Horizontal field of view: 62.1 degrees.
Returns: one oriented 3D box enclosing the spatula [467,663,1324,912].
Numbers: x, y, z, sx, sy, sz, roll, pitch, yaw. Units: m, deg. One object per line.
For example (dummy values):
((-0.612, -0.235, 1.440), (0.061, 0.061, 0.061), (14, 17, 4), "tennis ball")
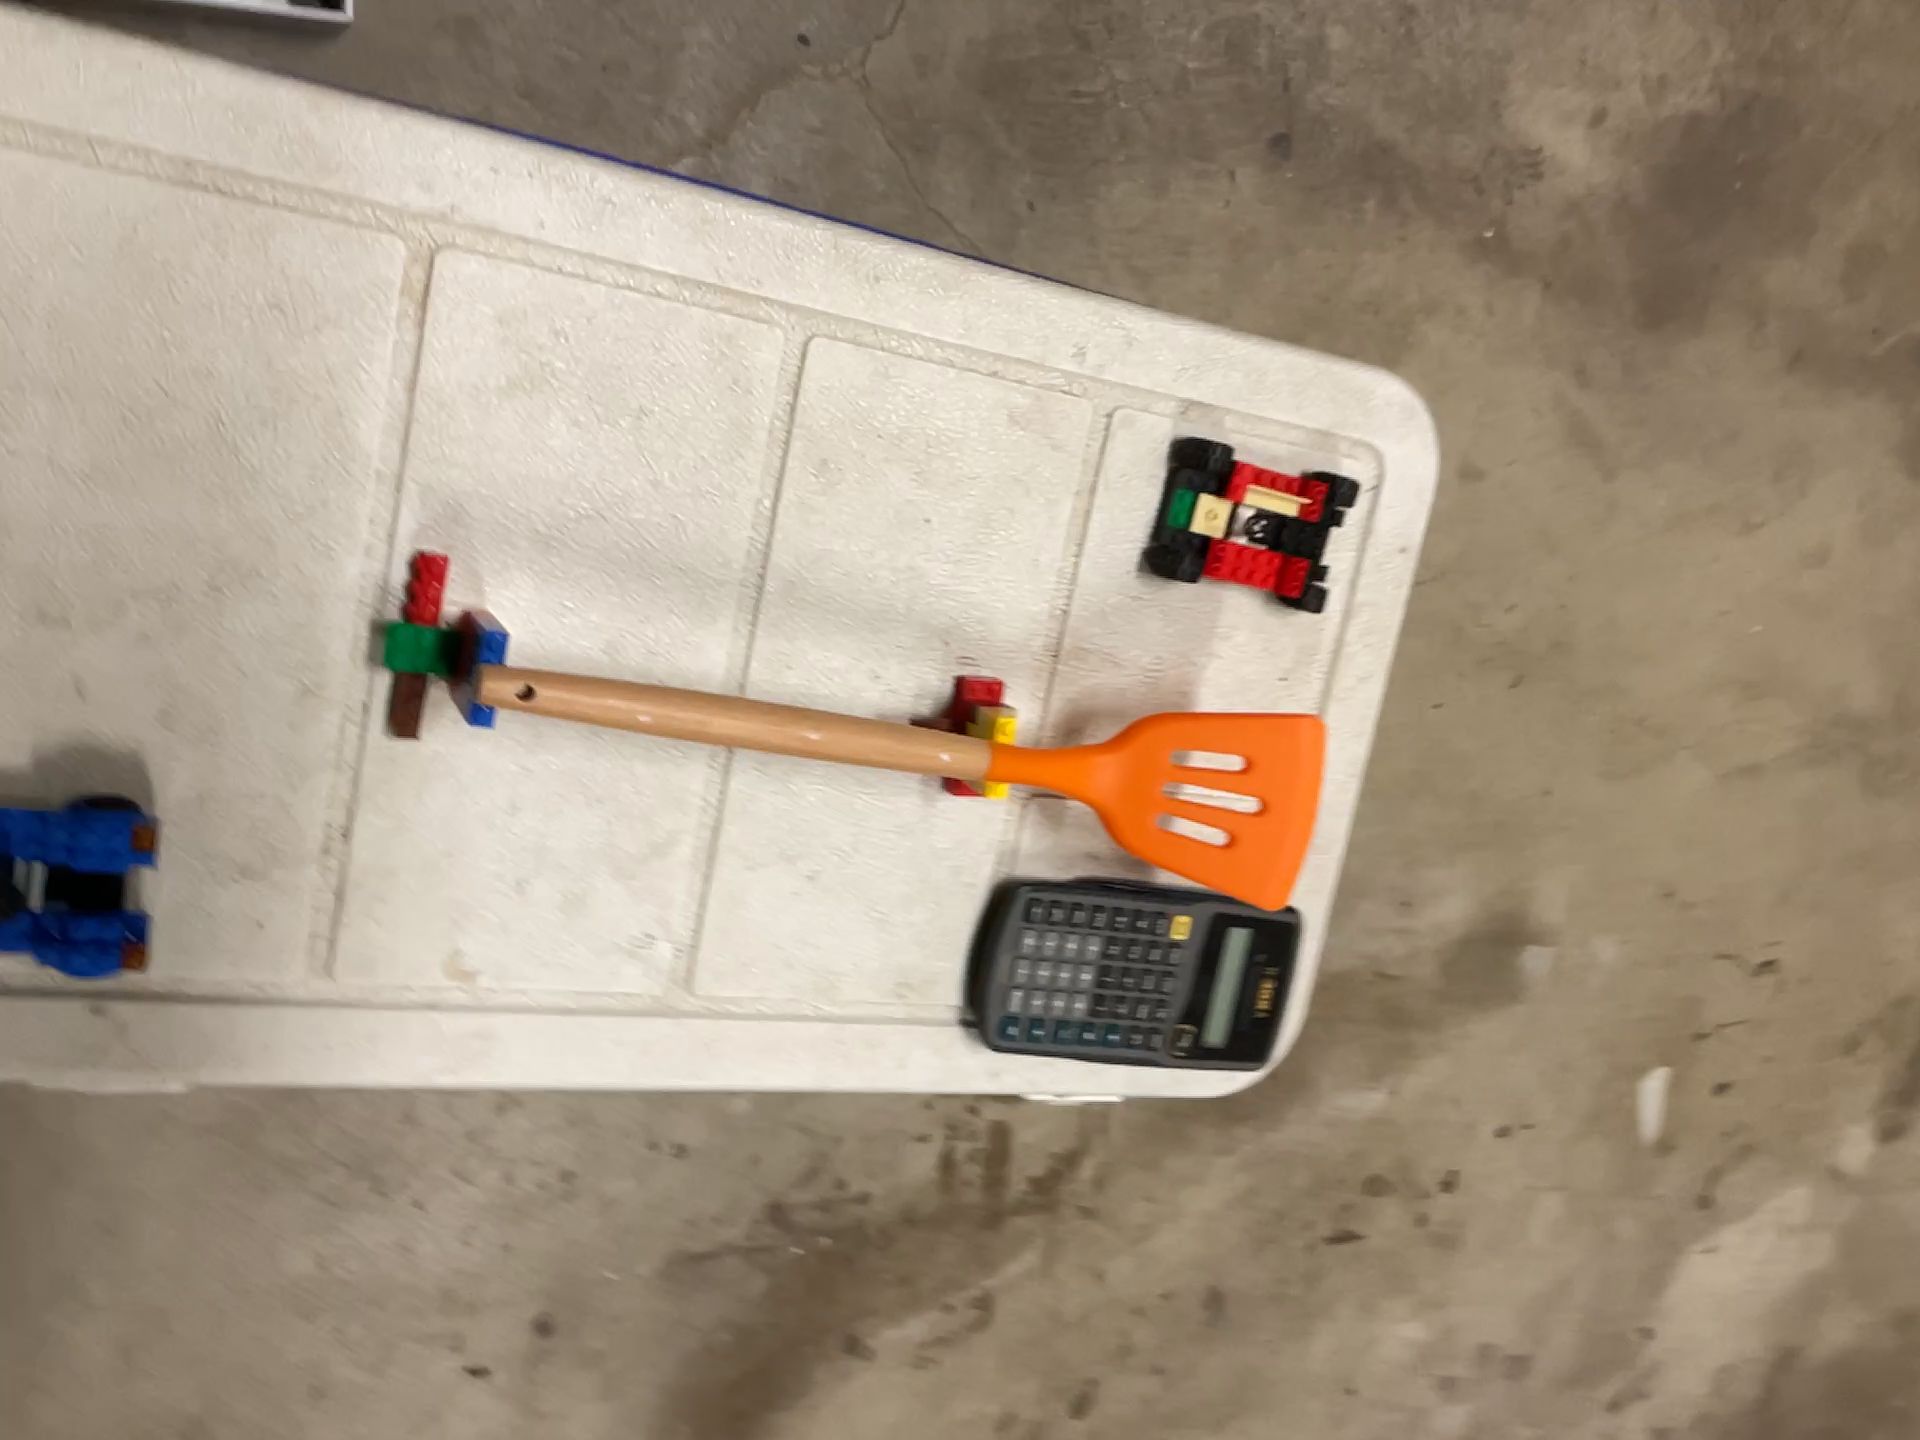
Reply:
((-0.011, 0.012, 0.574), (0.322, 0.041, 0.081), (9, 96, -27), "spatula")
